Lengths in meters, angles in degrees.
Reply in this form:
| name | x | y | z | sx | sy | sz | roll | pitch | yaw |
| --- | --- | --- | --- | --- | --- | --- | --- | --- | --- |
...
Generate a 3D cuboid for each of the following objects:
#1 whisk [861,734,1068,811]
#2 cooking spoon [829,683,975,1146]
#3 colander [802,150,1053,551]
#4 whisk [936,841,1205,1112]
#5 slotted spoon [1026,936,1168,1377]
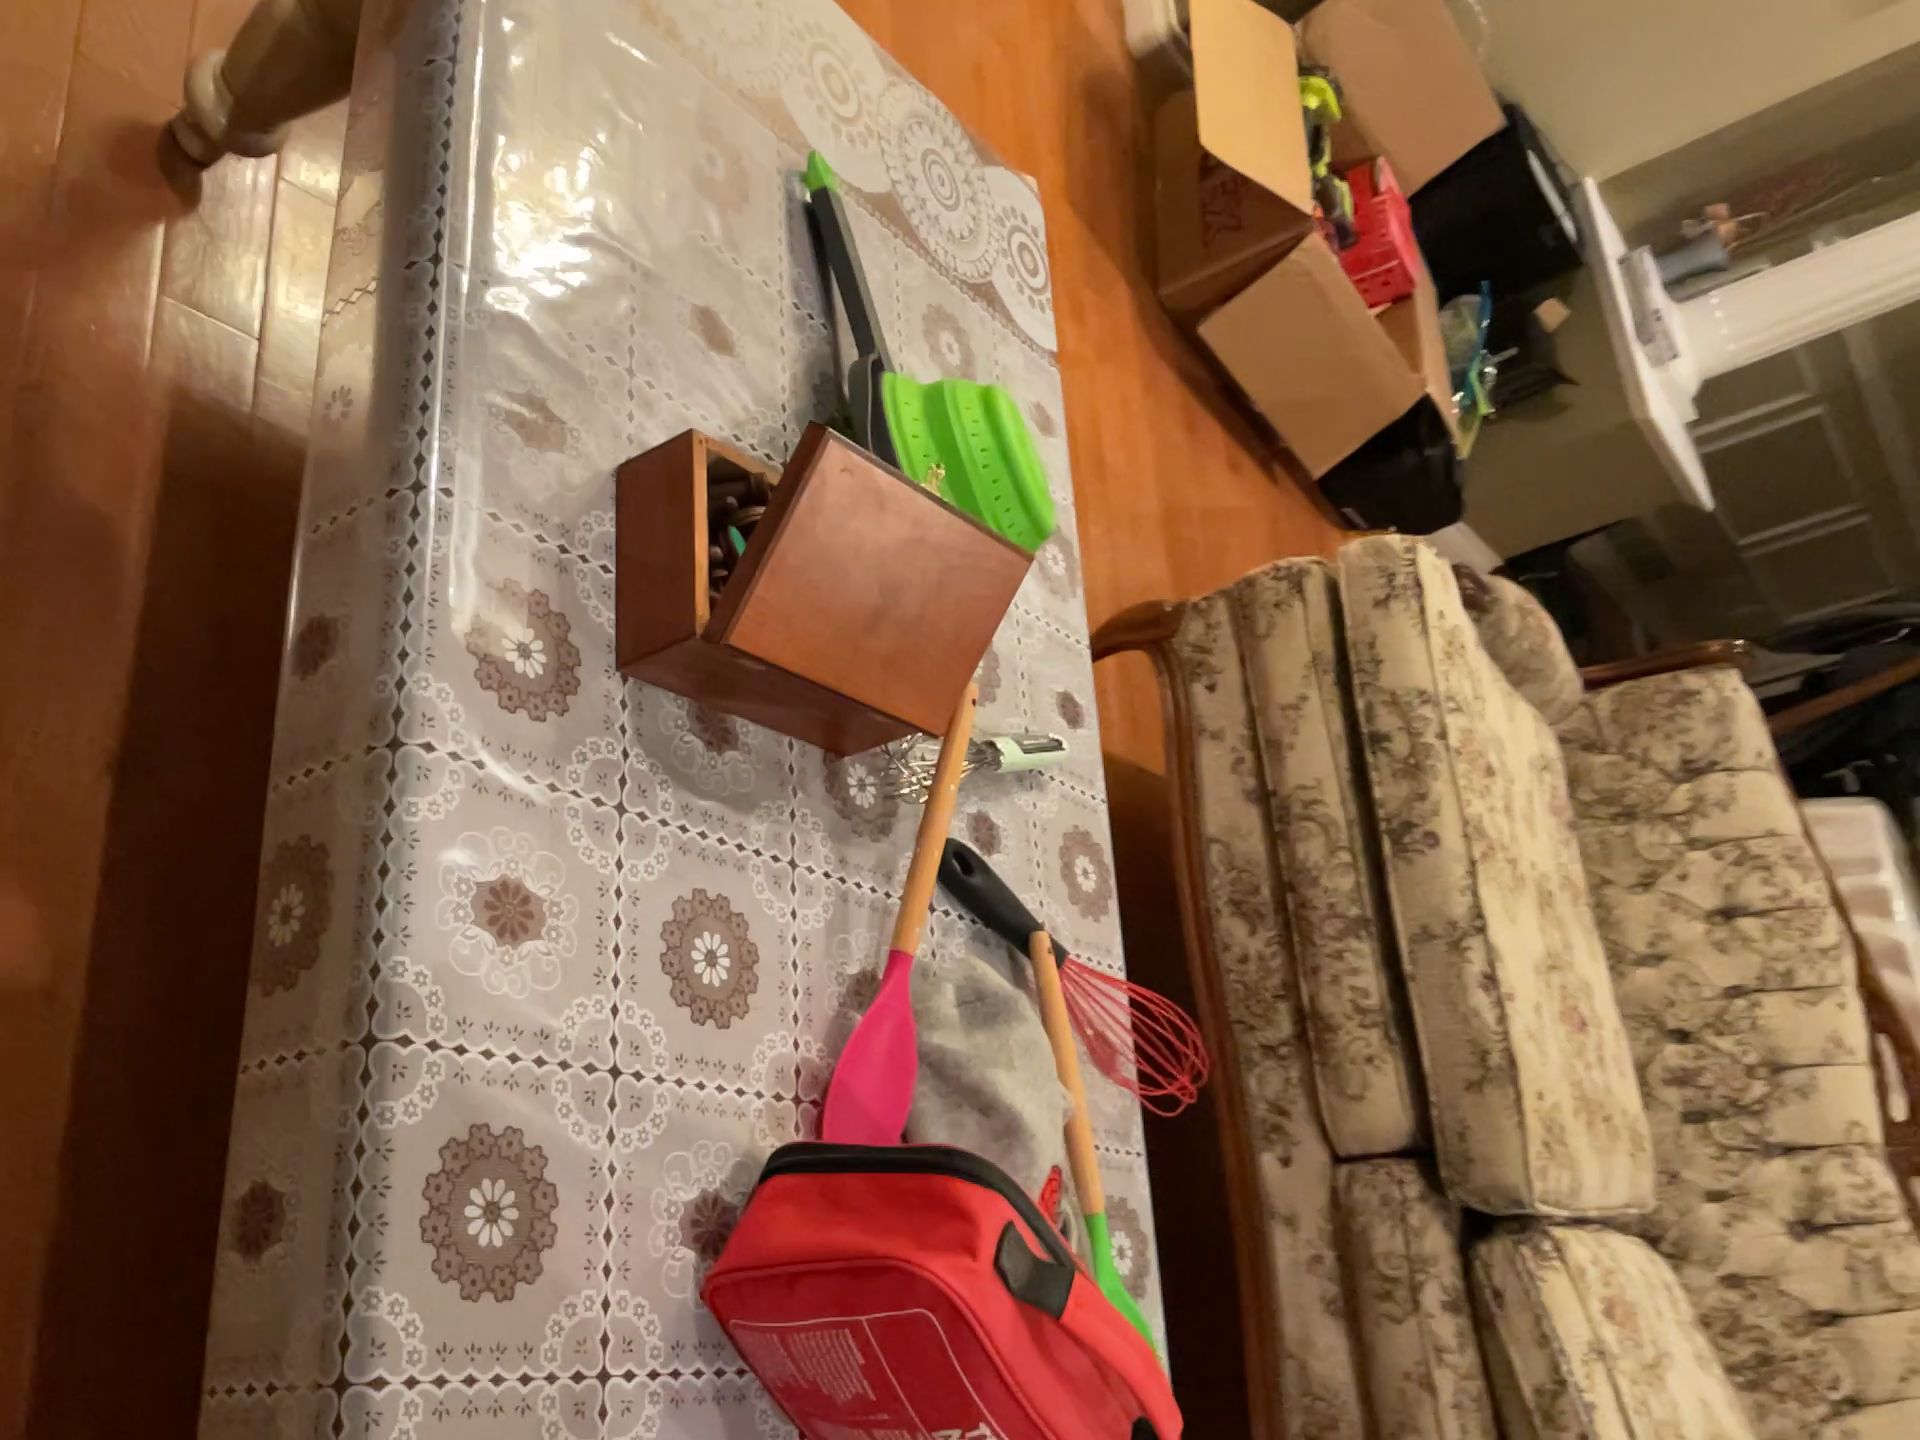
| name | x | y | z | sx | sy | sz | roll | pitch | yaw |
| --- | --- | --- | --- | --- | --- | --- | --- | --- | --- |
| whisk | 0.012 | 0.027 | 1.093 | 0.246 | 0.059 | 0.057 | -4 | 119 | -60 |
| cooking spoon | -0.029 | 0.118 | 0.946 | 0.068 | 0.017 | 0.319 | 39 | 54 | -43 |
| colander | -0.020 | -0.234 | 1.086 | 0.204 | 0.094 | 0.397 | 39 | 33 | -70 |
| whisk | 0.077 | 0.177 | 1.096 | 0.295 | 0.073 | 0.073 | 45 | 46 | -25 |
| slotted spoon | 0.083 | 0.297 | 1.045 | 0.070 | 0.031 | 0.314 | -4 | 80 | -57 |
